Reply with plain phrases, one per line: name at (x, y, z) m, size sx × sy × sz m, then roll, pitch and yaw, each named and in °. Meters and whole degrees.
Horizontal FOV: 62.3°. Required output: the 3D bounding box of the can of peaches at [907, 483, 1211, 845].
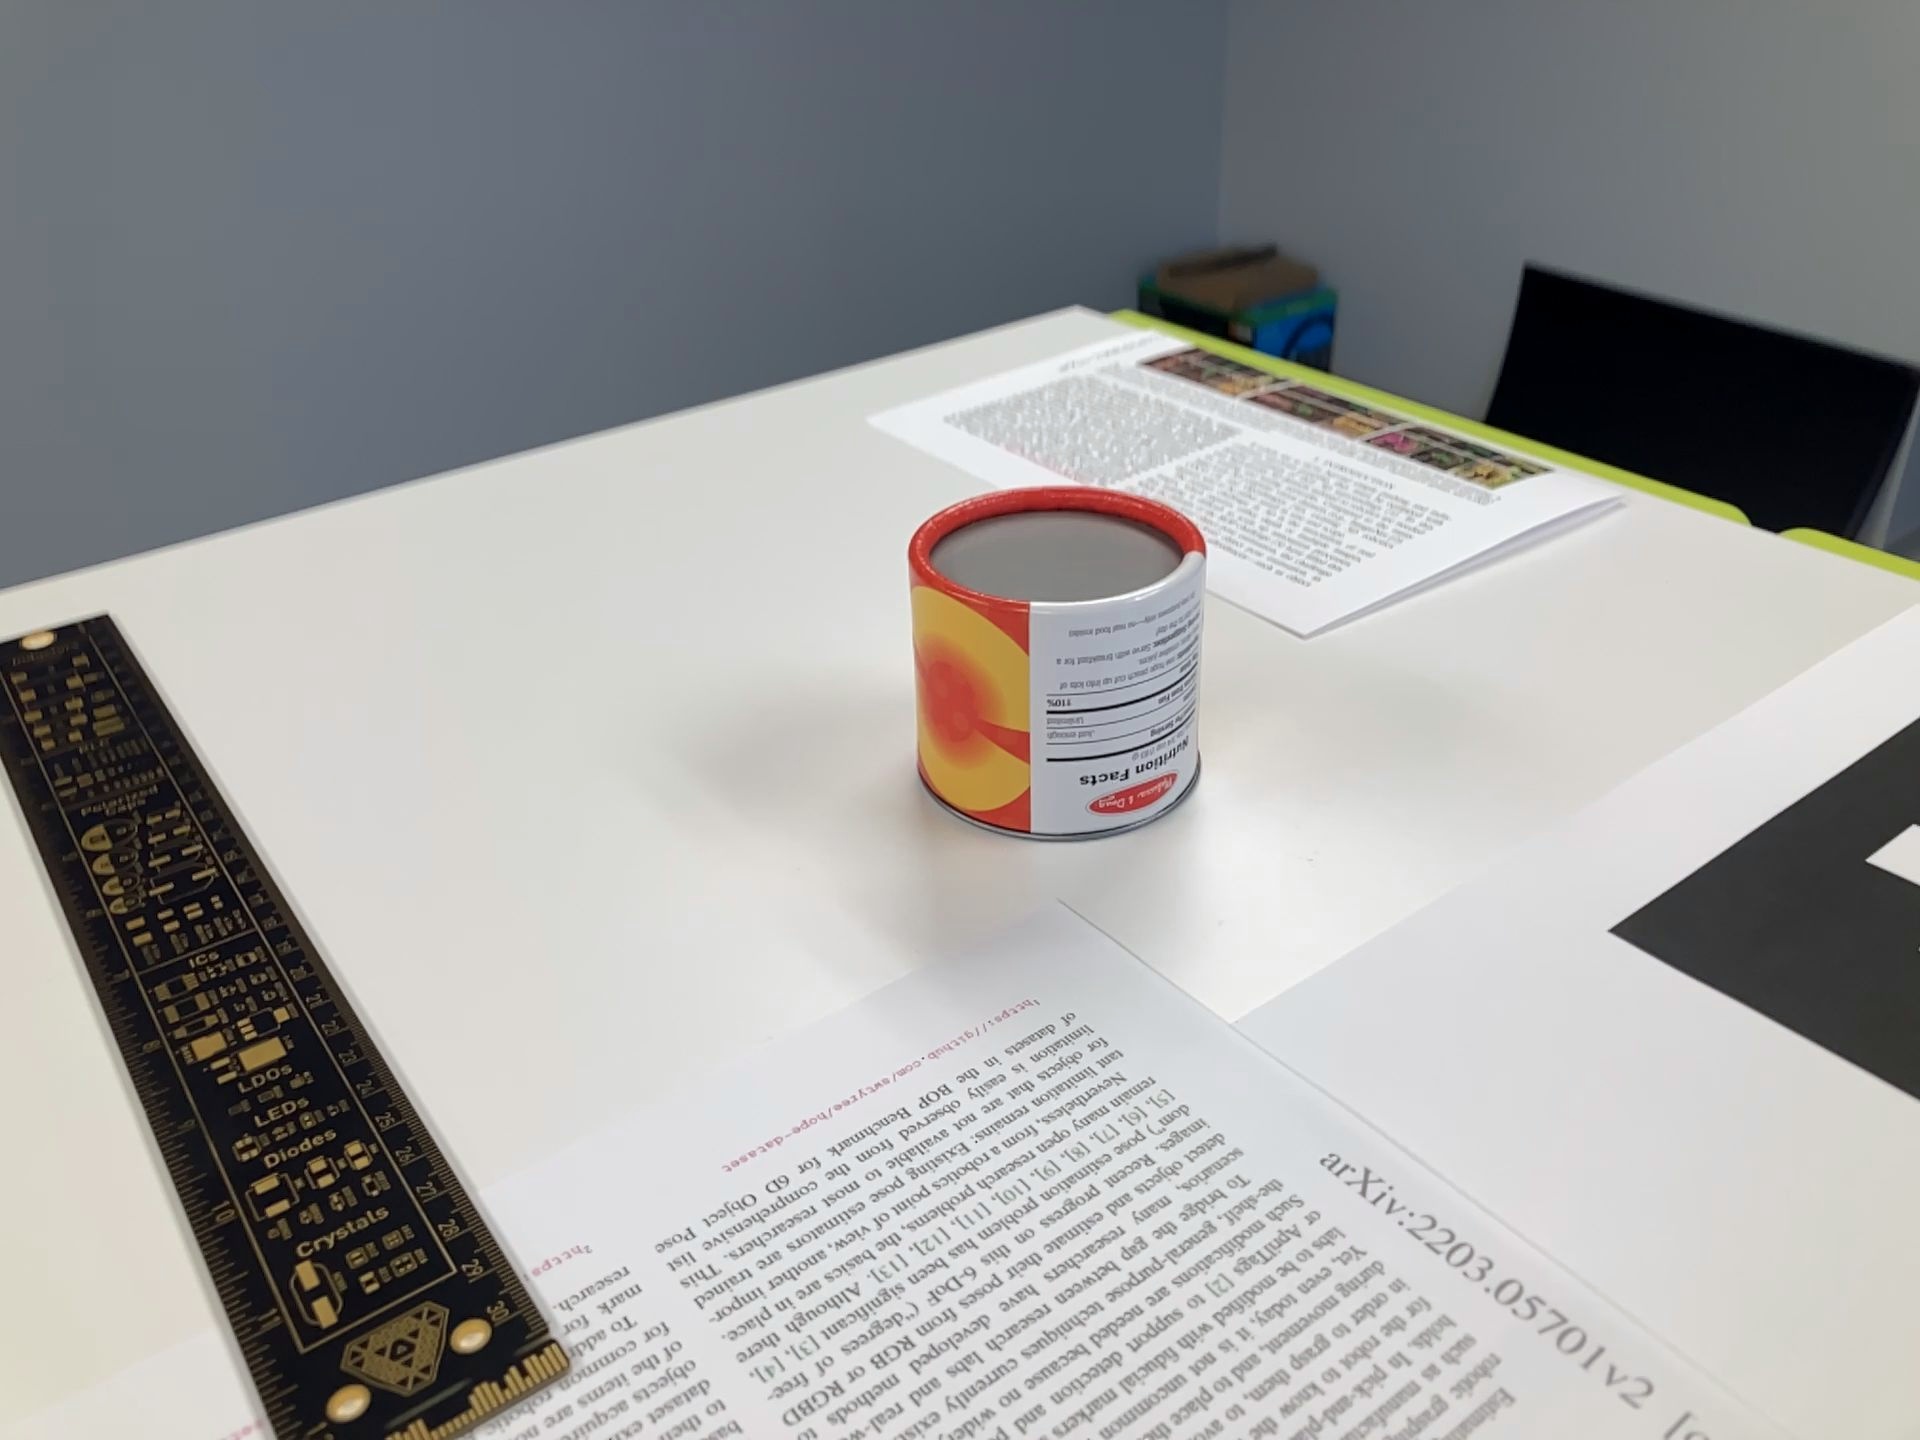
can of peaches at (0.020, -0.015, 0.355) m, size 0.071 × 0.058 × 0.071 m, roll -2°, pitch 32°, yaw 1°
